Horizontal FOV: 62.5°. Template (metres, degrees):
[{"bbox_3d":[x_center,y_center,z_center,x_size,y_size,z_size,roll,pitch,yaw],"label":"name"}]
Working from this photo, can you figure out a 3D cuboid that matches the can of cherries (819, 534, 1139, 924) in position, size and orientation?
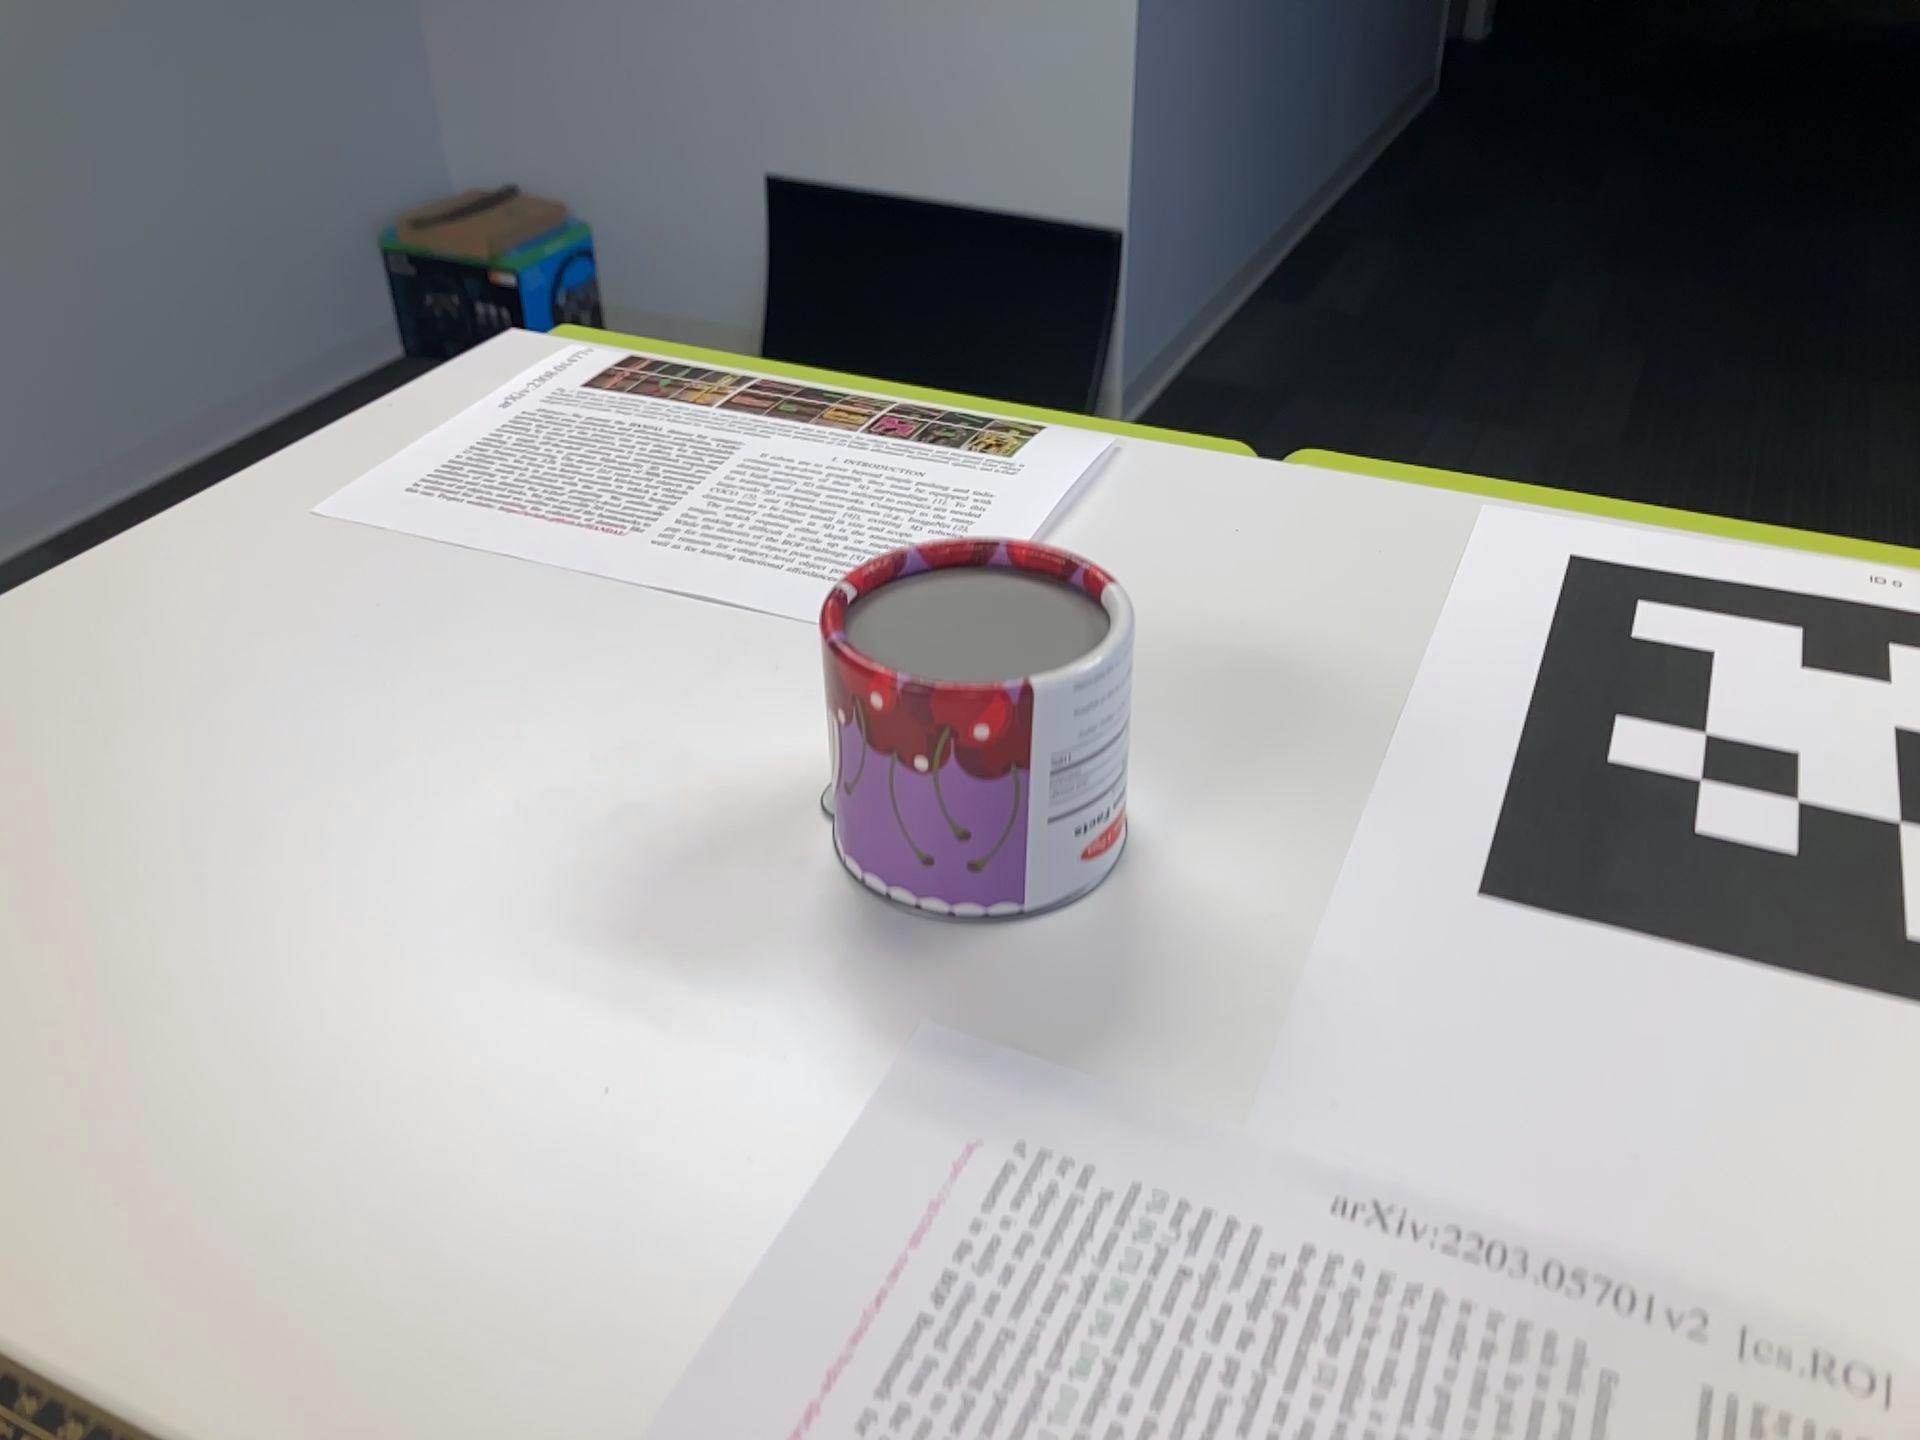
[{"bbox_3d":[0.002,0.000,0.338,0.071,0.058,0.071,-1,34,1],"label":"can of cherries"}]
